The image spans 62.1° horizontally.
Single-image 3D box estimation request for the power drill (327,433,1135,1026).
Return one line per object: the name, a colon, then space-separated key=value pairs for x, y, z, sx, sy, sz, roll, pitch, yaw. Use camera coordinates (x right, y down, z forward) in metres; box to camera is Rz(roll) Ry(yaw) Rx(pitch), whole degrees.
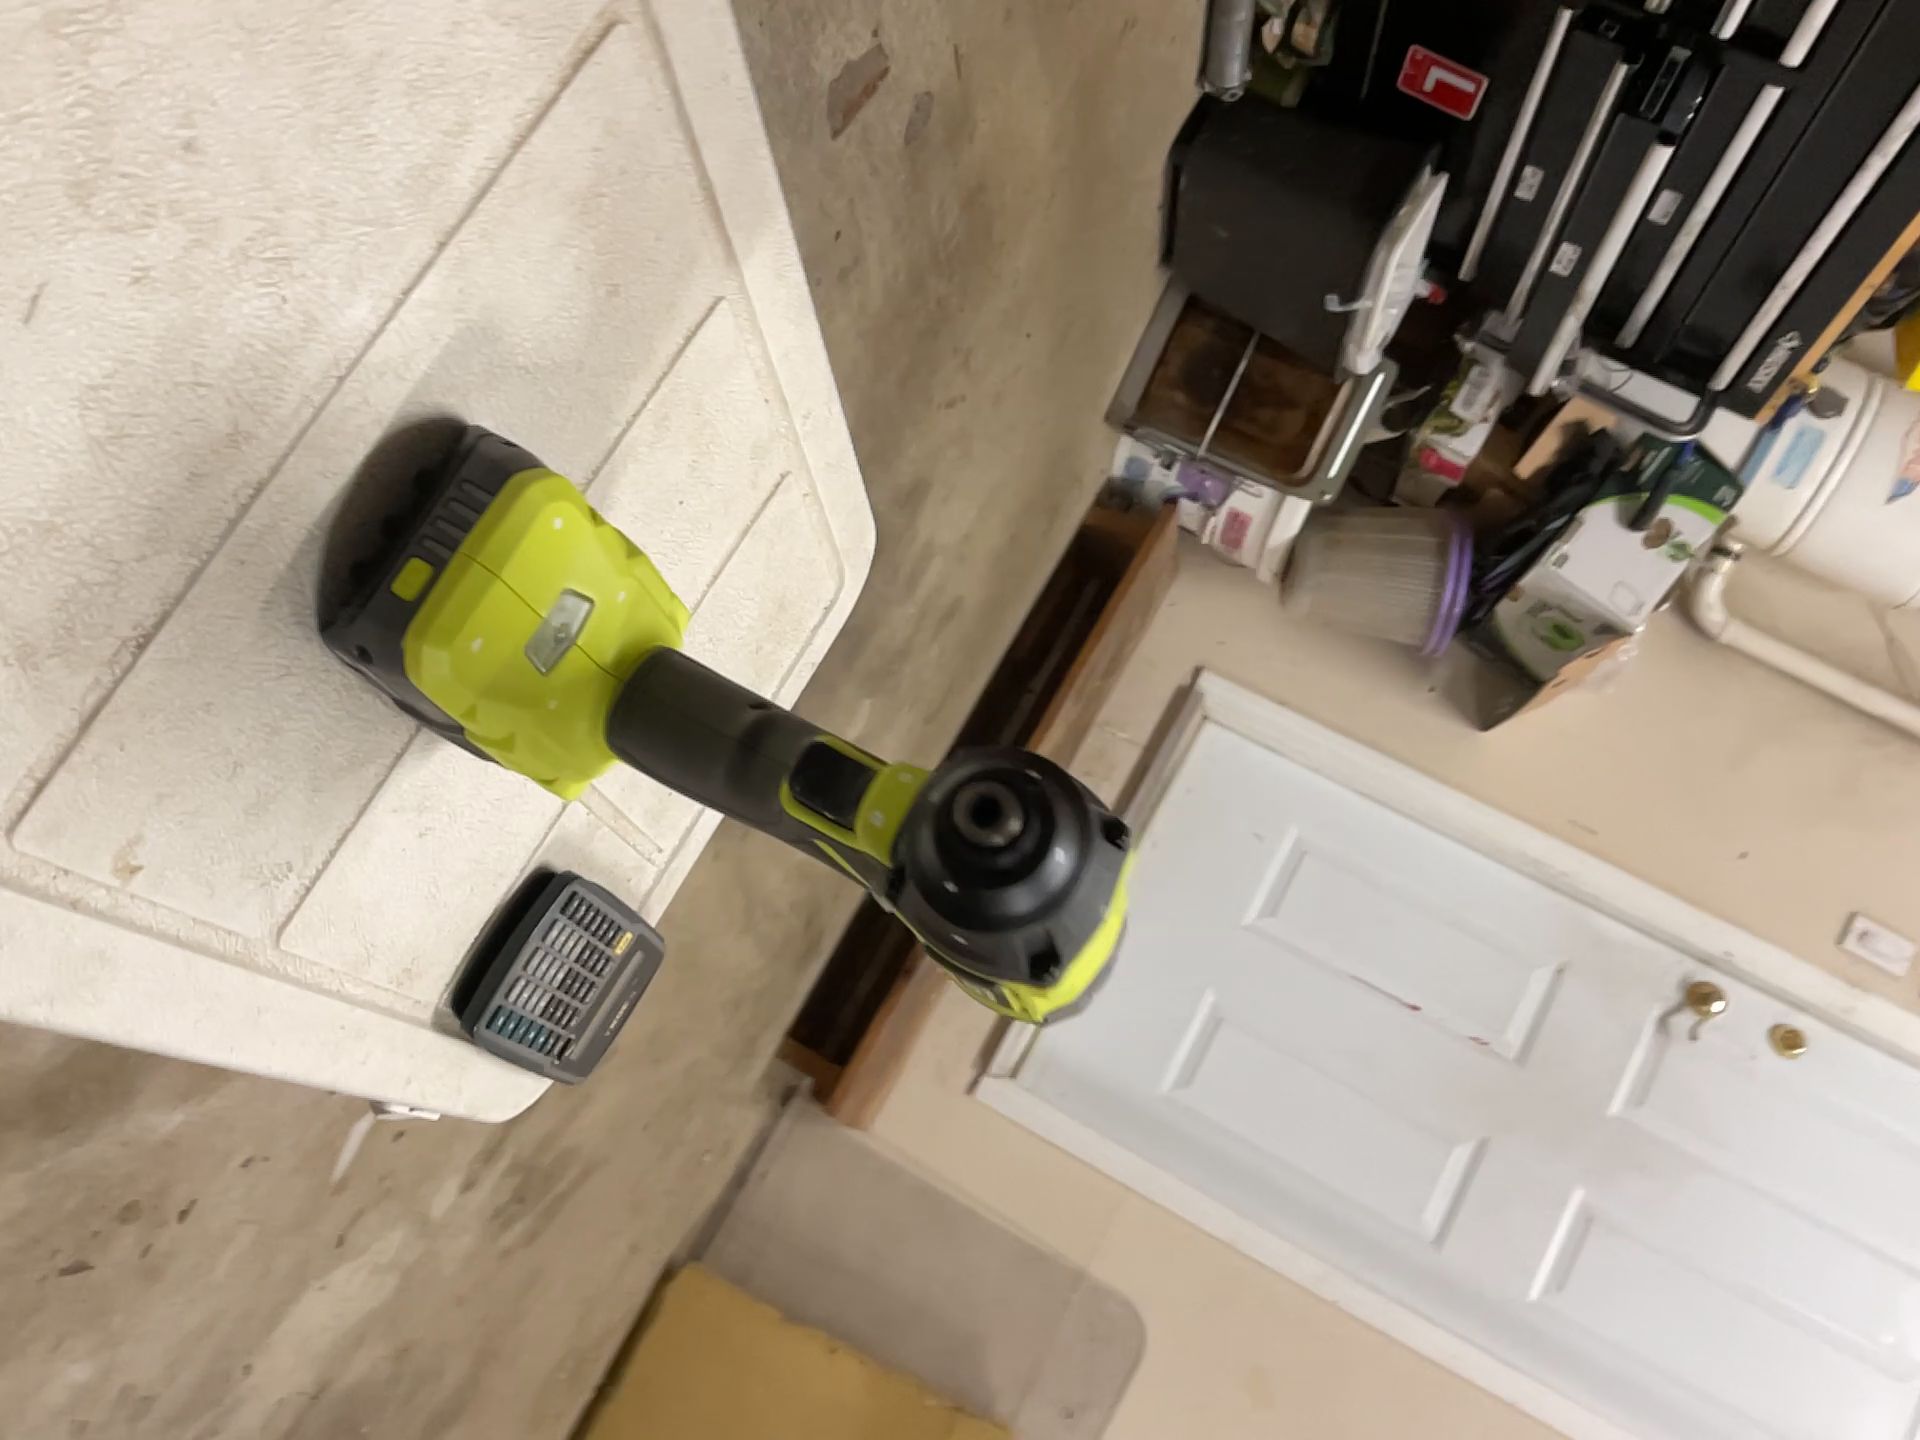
power drill: x=-0.057 y=0.008 z=0.458 sx=0.080 sy=0.223 sz=0.171 roll=-61 pitch=167 yaw=-12
